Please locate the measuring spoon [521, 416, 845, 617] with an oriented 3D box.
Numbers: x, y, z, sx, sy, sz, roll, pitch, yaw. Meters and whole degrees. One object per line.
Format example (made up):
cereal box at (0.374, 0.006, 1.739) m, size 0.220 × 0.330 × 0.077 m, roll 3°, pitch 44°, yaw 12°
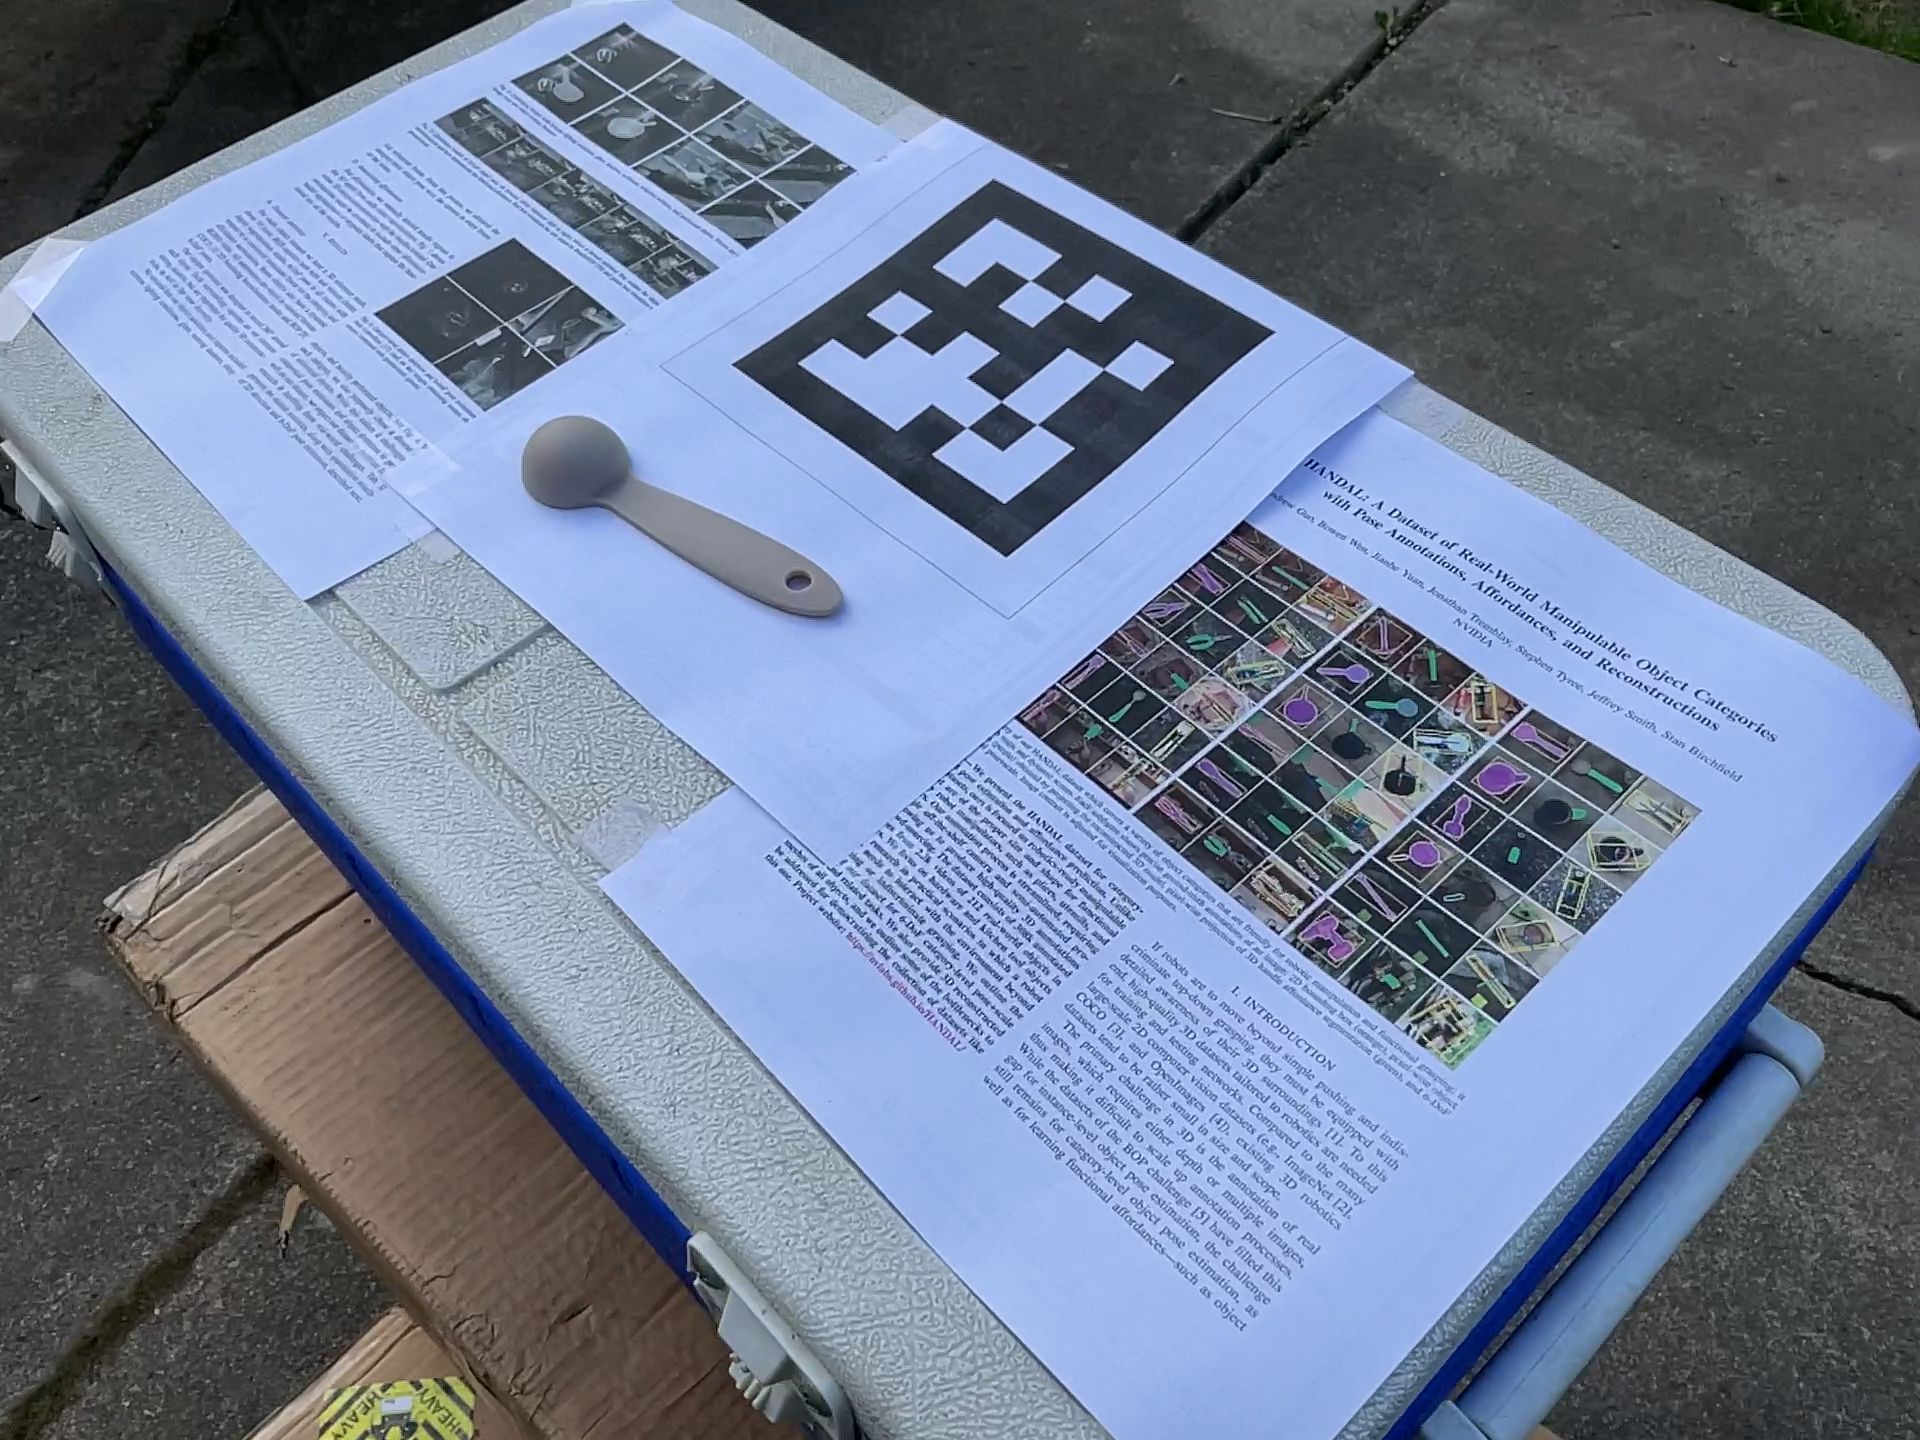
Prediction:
measuring spoon at (-0.085, -0.064, 0.481) m, size 0.124 × 0.018 × 0.034 m, roll 29°, pitch 59°, yaw 23°
